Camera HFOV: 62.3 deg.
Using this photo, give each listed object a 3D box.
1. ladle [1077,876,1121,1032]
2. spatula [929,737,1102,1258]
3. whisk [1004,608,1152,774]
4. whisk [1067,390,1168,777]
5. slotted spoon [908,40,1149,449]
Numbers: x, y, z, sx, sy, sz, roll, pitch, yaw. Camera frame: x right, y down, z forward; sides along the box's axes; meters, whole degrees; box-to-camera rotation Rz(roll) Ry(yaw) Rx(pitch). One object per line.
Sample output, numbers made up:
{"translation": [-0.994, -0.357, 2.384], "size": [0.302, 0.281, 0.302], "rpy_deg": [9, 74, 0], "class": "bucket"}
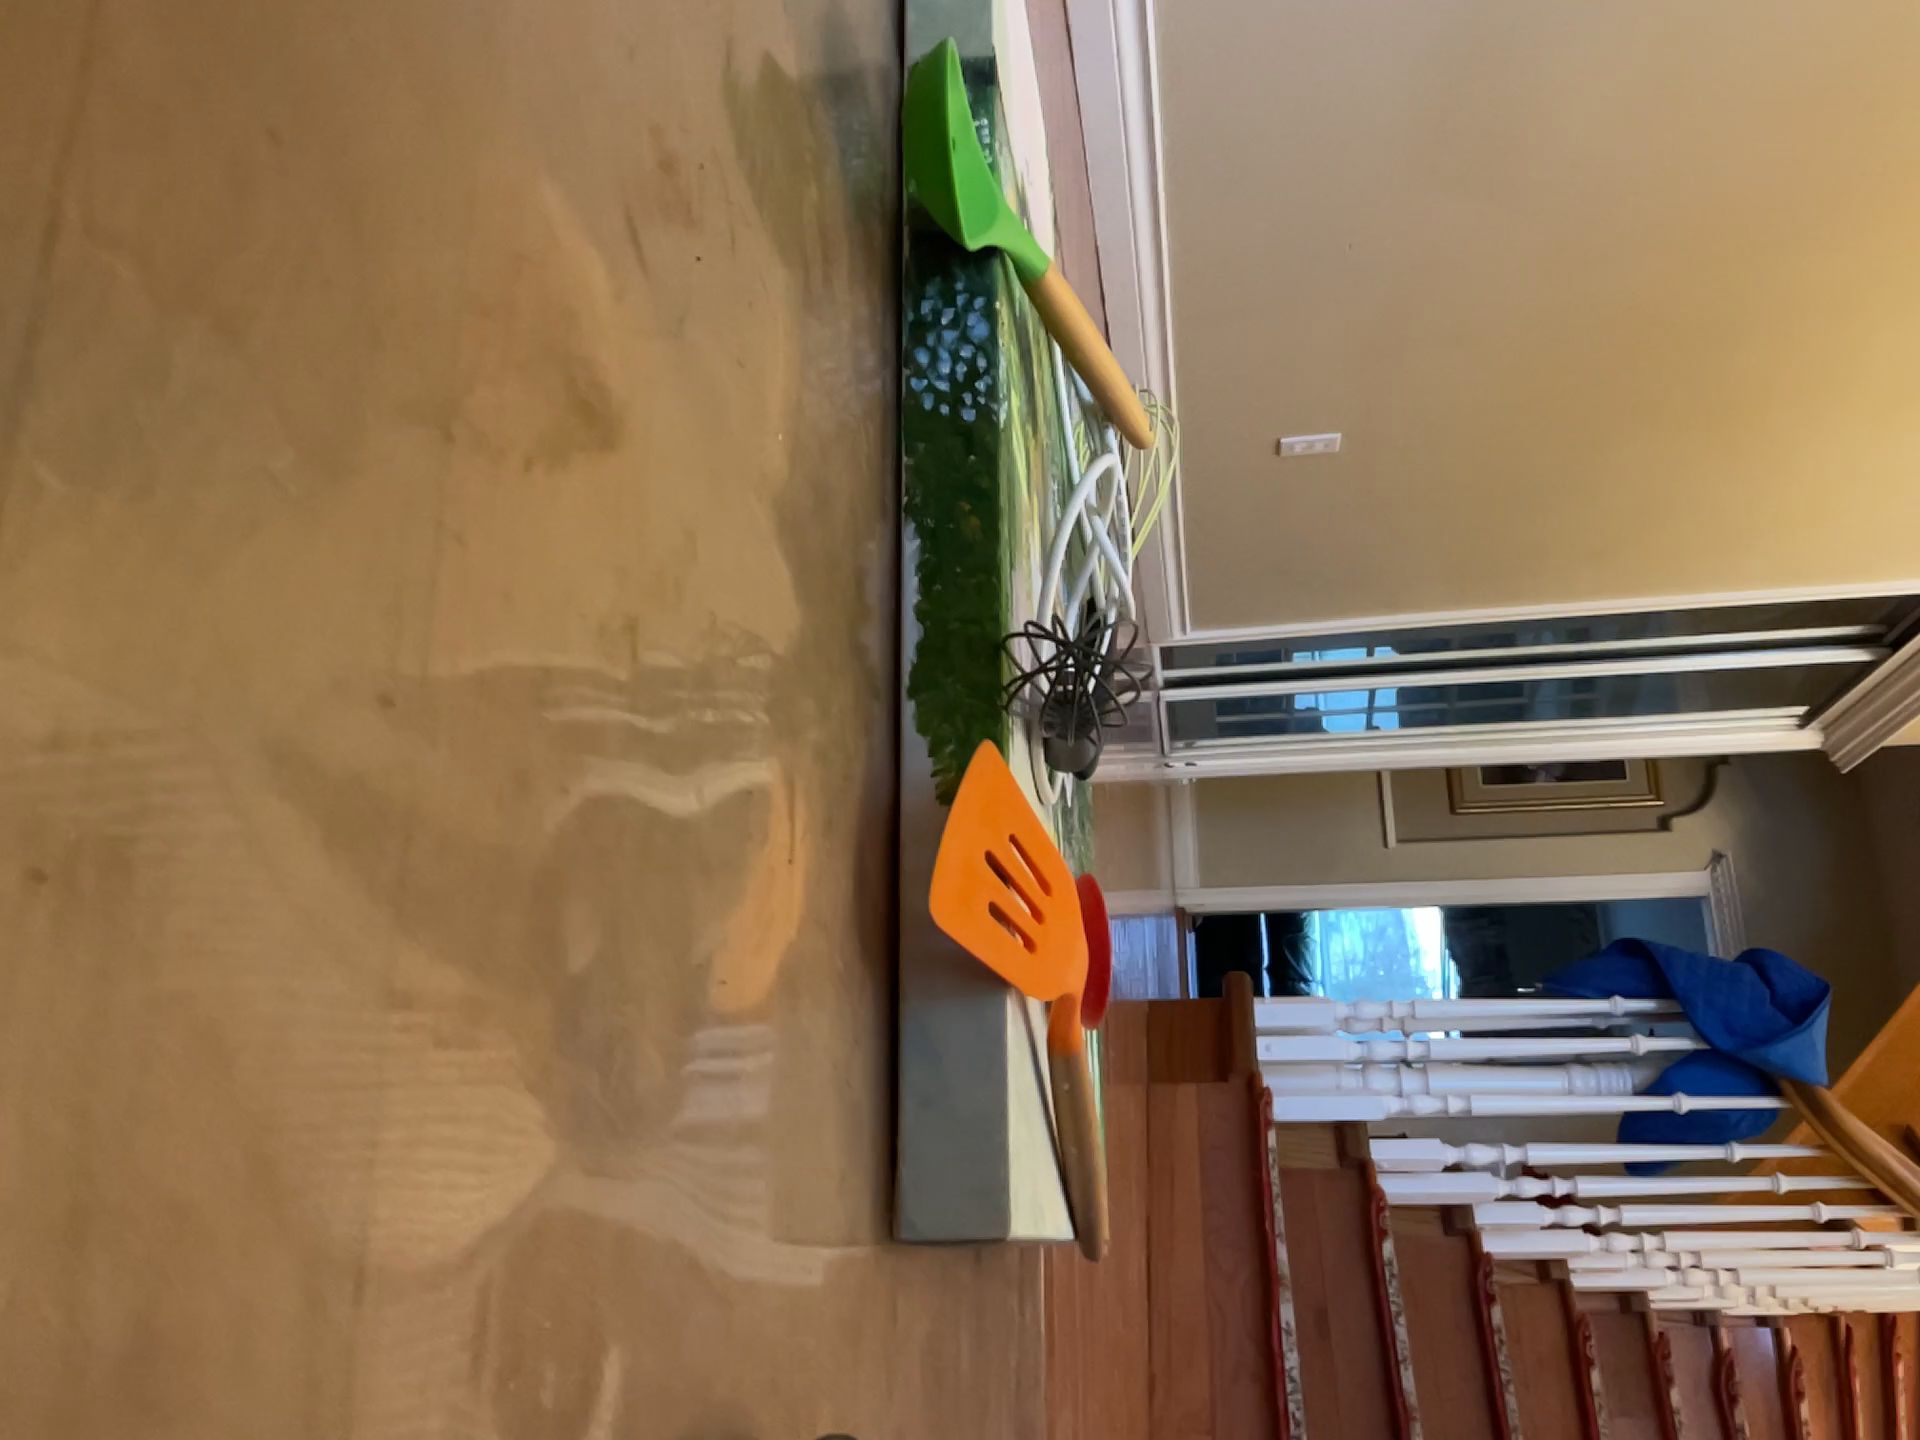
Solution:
{"translation": [0.069, 0.124, 0.826], "size": [0.315, 0.031, 0.069], "rpy_deg": [57, 31, -79], "class": "ladle"}
{"translation": [0.035, 0.141, 0.645], "size": [0.322, 0.041, 0.081], "rpy_deg": [80, 21, -46], "class": "spatula"}
{"translation": [0.048, -0.003, 0.671], "size": [0.239, 0.055, 0.055], "rpy_deg": [75, 23, -80], "class": "whisk"}
{"translation": [0.089, -0.096, 0.985], "size": [0.079, 0.067, 0.312], "rpy_deg": [67, 26, -52], "class": "whisk"}
{"translation": [0.039, -0.185, 0.699], "size": [0.313, 0.031, 0.070], "rpy_deg": [34, 51, -65], "class": "slotted spoon"}
